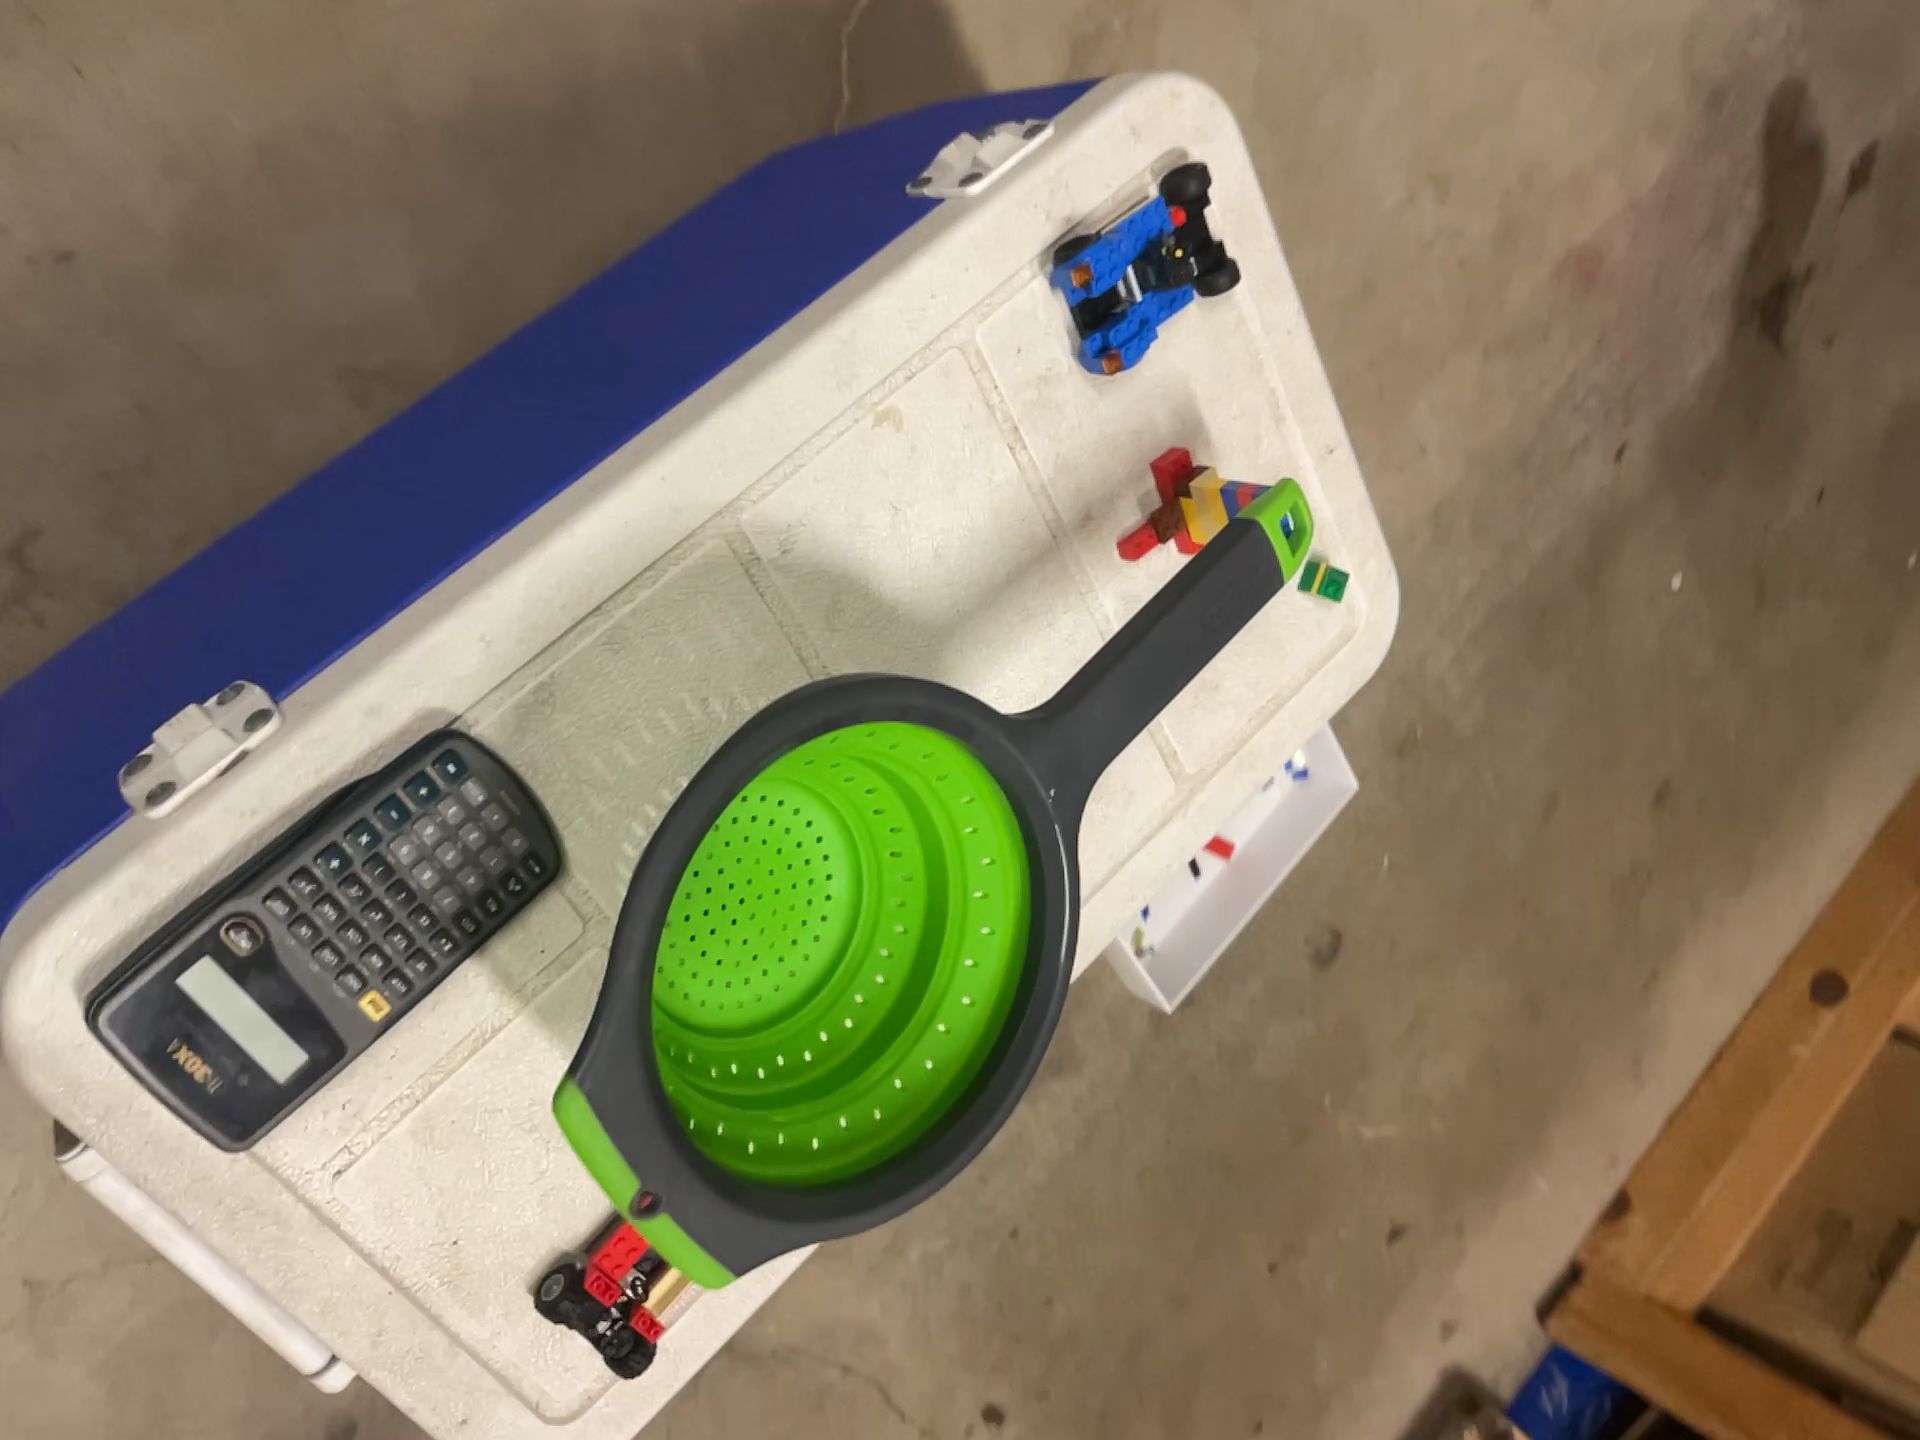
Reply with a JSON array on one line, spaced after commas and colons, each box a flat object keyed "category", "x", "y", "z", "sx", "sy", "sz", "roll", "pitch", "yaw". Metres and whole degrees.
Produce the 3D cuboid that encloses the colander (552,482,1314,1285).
[{"category": "colander", "x": -0.004, "y": 0.028, "z": 0.632, "sx": 0.397, "sy": 0.094, "sz": 0.204, "roll": -44, "pitch": 122, "yaw": -24}]
